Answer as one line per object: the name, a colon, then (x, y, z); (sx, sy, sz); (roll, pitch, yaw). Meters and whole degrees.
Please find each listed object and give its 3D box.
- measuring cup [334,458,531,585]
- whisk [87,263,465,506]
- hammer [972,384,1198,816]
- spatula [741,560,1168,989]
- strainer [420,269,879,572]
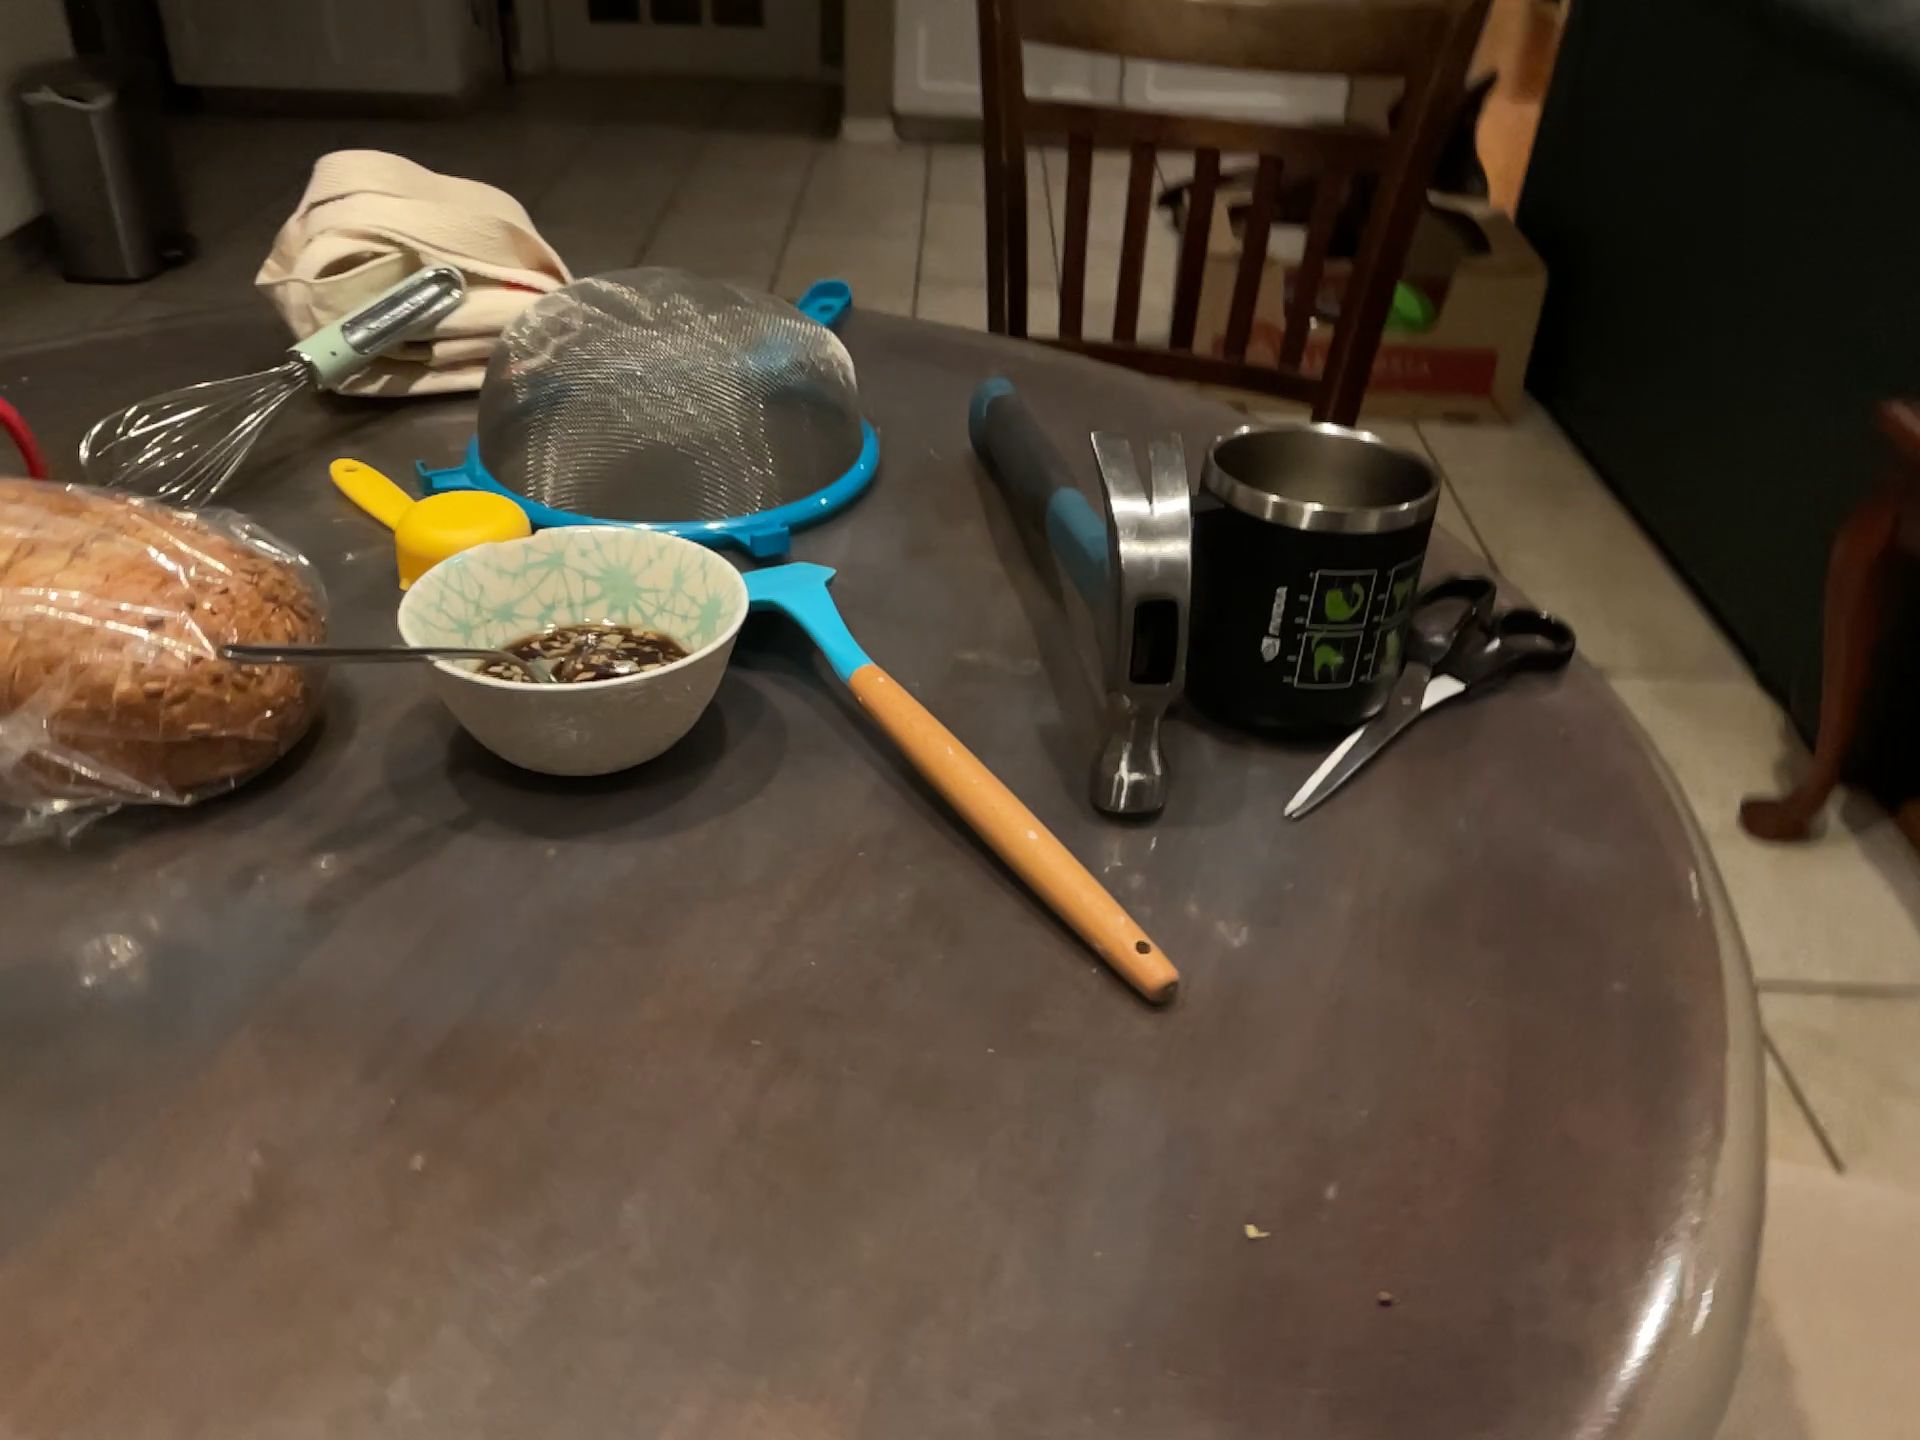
measuring cup: (-0.254, -0.103, 0.746); (0.062, 0.029, 0.156); (-25, 44, -36)
whisk: (-0.334, -0.173, 0.805); (0.059, 0.057, 0.246); (-11, 30, 40)
hammer: (0.045, -0.090, 0.703); (0.033, 0.128, 0.331); (0, 24, -10)
spatula: (-0.025, 0.004, 0.613); (0.082, 0.044, 0.318); (-17, 42, -29)
strainer: (-0.127, -0.207, 0.859); (0.211, 0.095, 0.341); (12, 38, 12)
